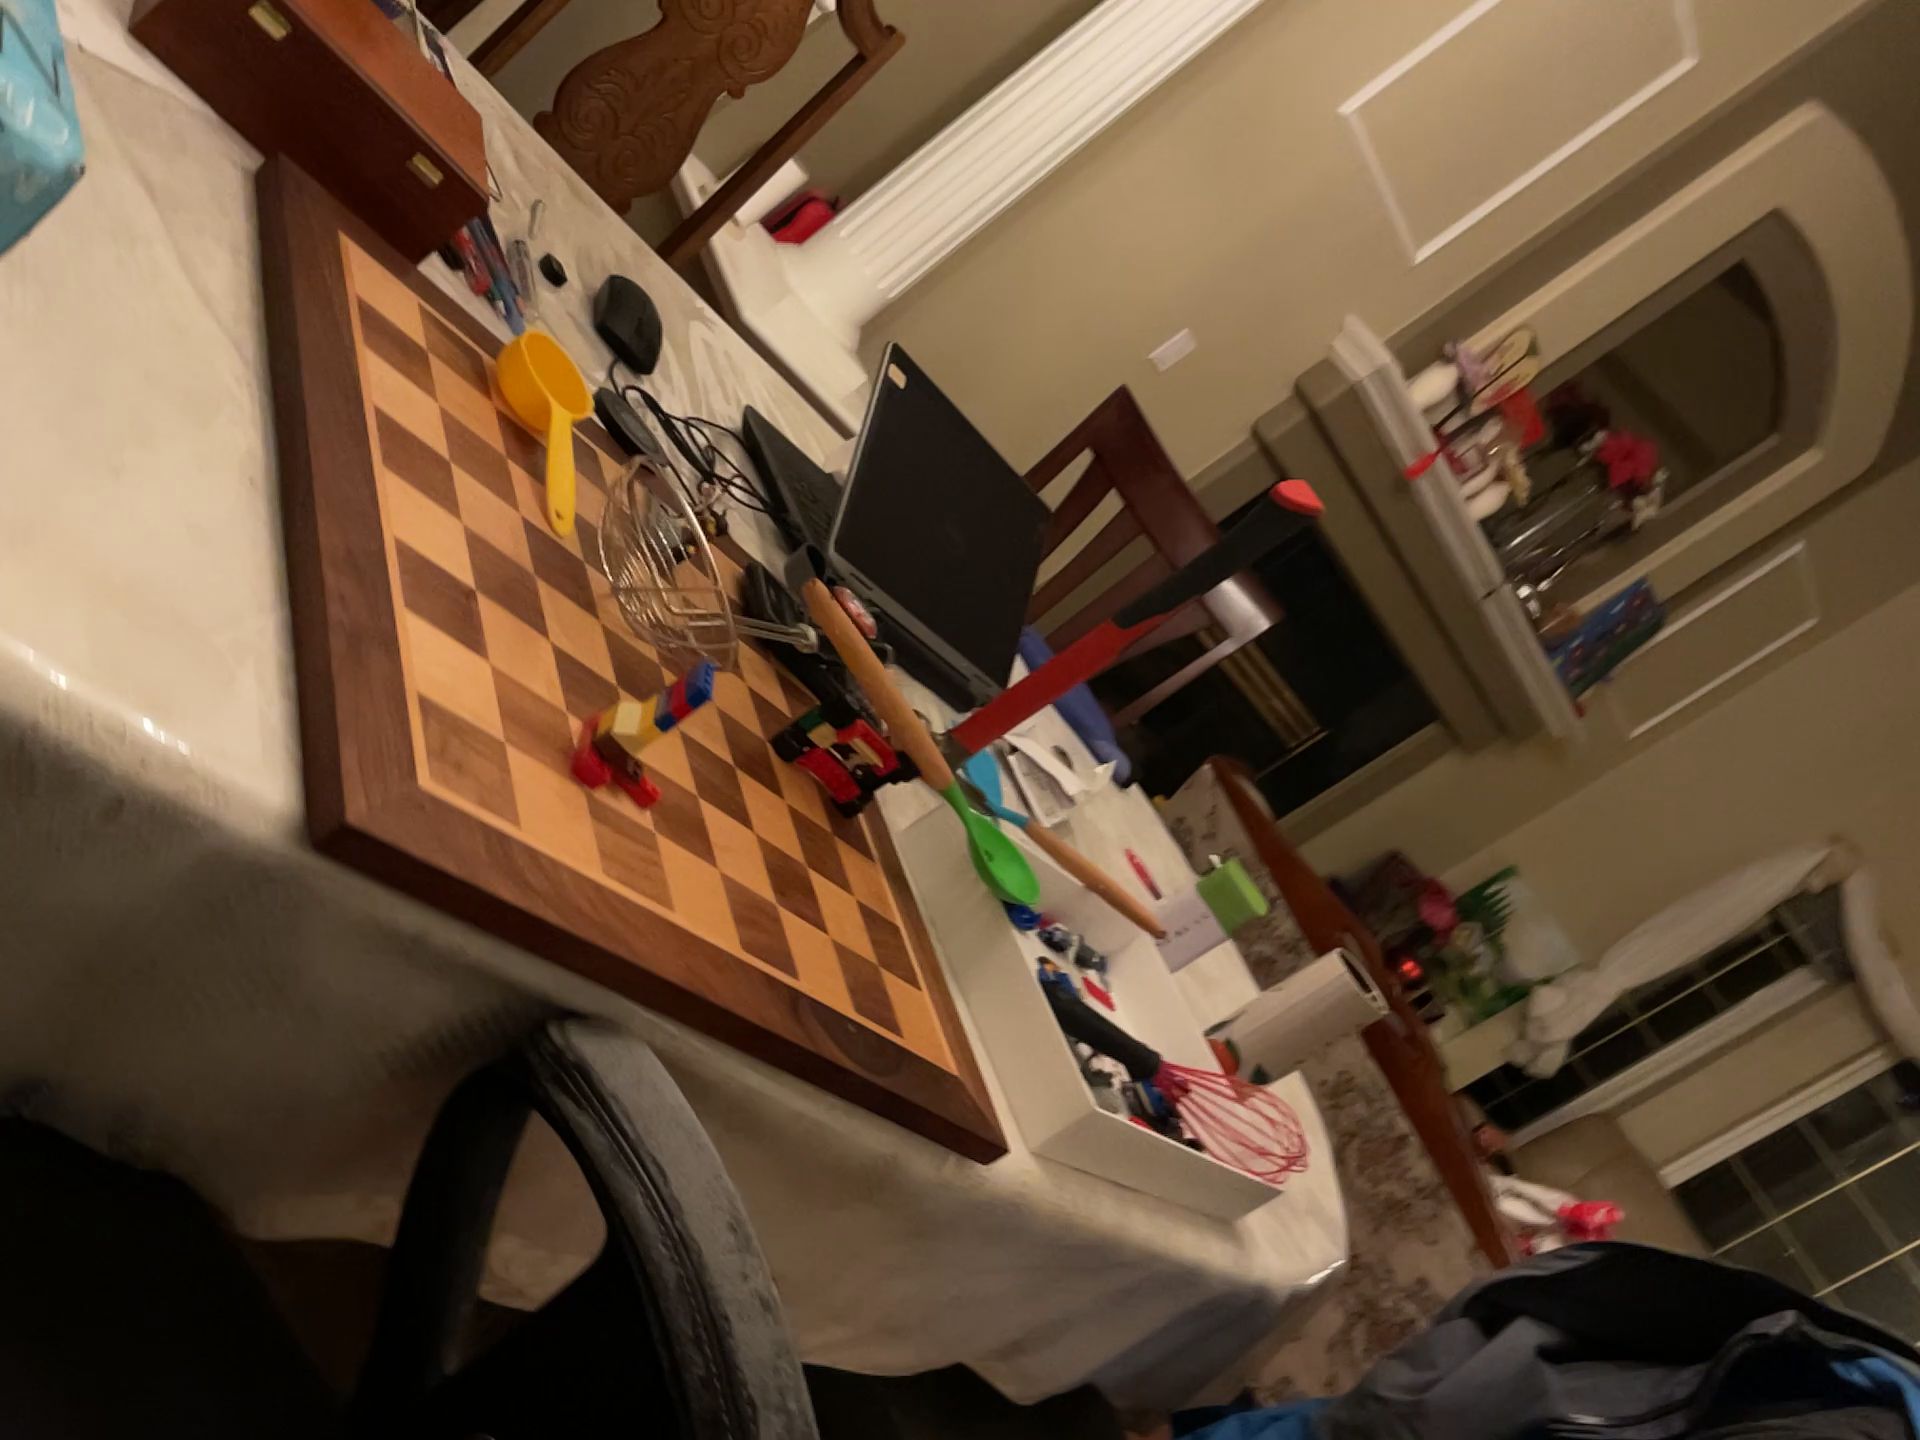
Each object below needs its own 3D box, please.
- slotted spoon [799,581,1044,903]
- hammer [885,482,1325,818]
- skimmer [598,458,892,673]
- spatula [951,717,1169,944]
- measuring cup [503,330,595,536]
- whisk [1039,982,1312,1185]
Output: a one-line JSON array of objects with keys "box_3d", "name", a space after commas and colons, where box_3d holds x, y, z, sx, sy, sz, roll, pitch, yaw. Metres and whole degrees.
[{"box_3d": [-0.022, 0.022, 1.013, 0.313, 0.031, 0.070, 56, 11, -40], "name": "slotted spoon"}, {"box_3d": [0.130, -0.058, 1.290, 0.143, 0.386, 0.038, 42, 18, -46], "name": "hammer"}, {"box_3d": [-0.107, -0.074, 1.004, 0.127, 0.090, 0.362, 57, 17, 17], "name": "skimmer"}, {"box_3d": [0.083, 0.098, 1.375, 0.318, 0.044, 0.082, 38, -5, 46], "name": "spatula"}, {"box_3d": [-0.243, -0.163, 0.930, 0.062, 0.029, 0.157, 45, 29, -50], "name": "measuring cup"}, {"box_3d": [0.162, 0.279, 1.229, 0.295, 0.073, 0.073, 35, 1, -20], "name": "whisk"}]
